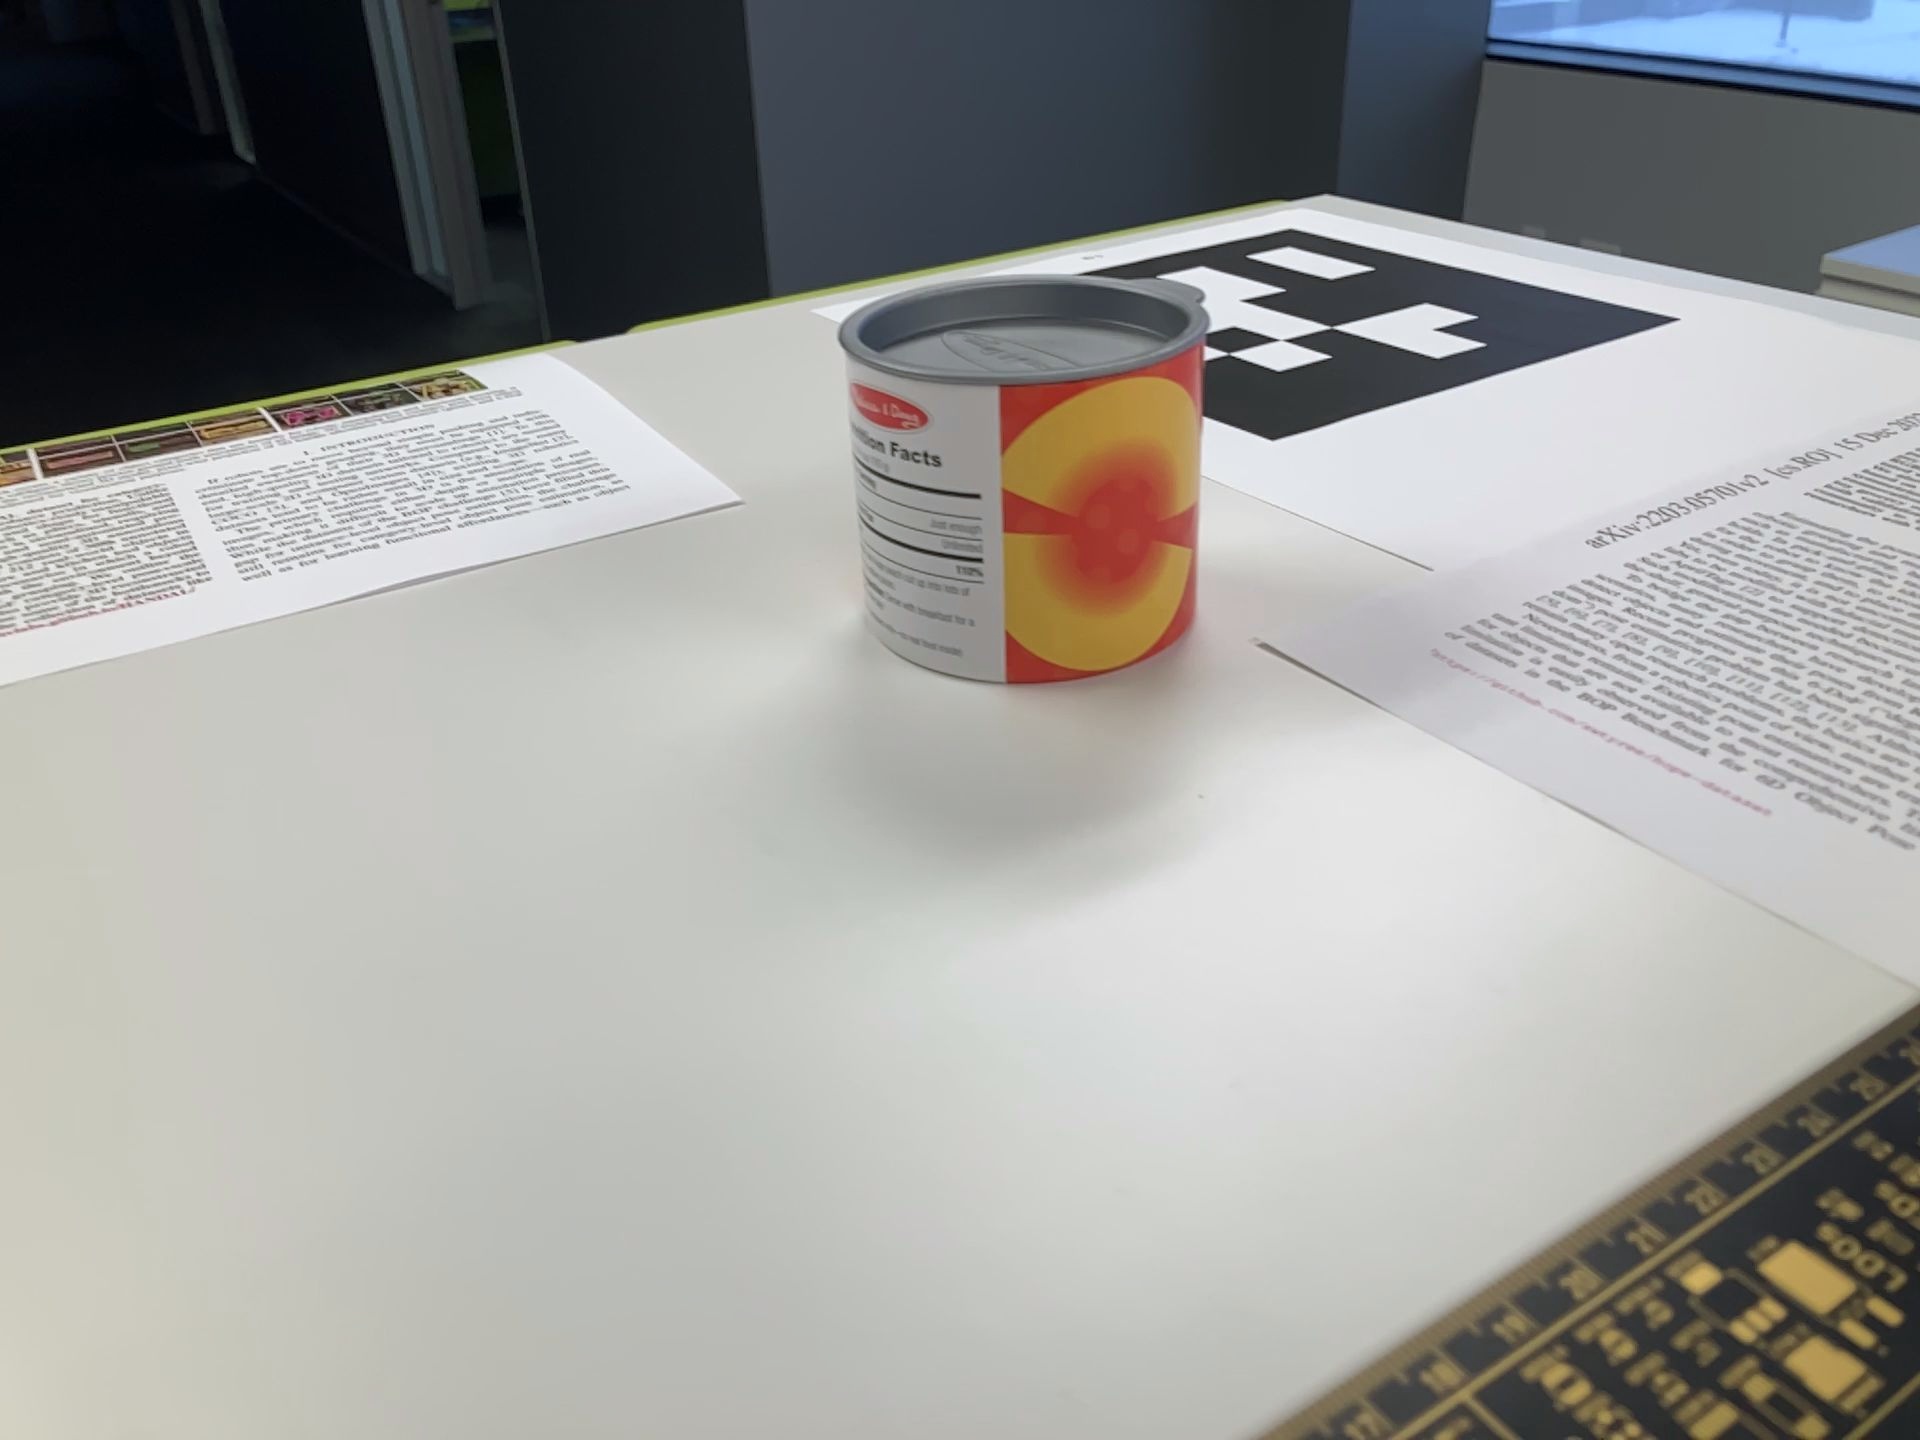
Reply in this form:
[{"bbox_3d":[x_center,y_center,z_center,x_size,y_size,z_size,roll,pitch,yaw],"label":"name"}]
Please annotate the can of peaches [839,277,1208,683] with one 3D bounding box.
[{"bbox_3d":[0.014,-0.047,0.300,0.071,0.058,0.071,-2,28,1],"label":"can of peaches"}]
